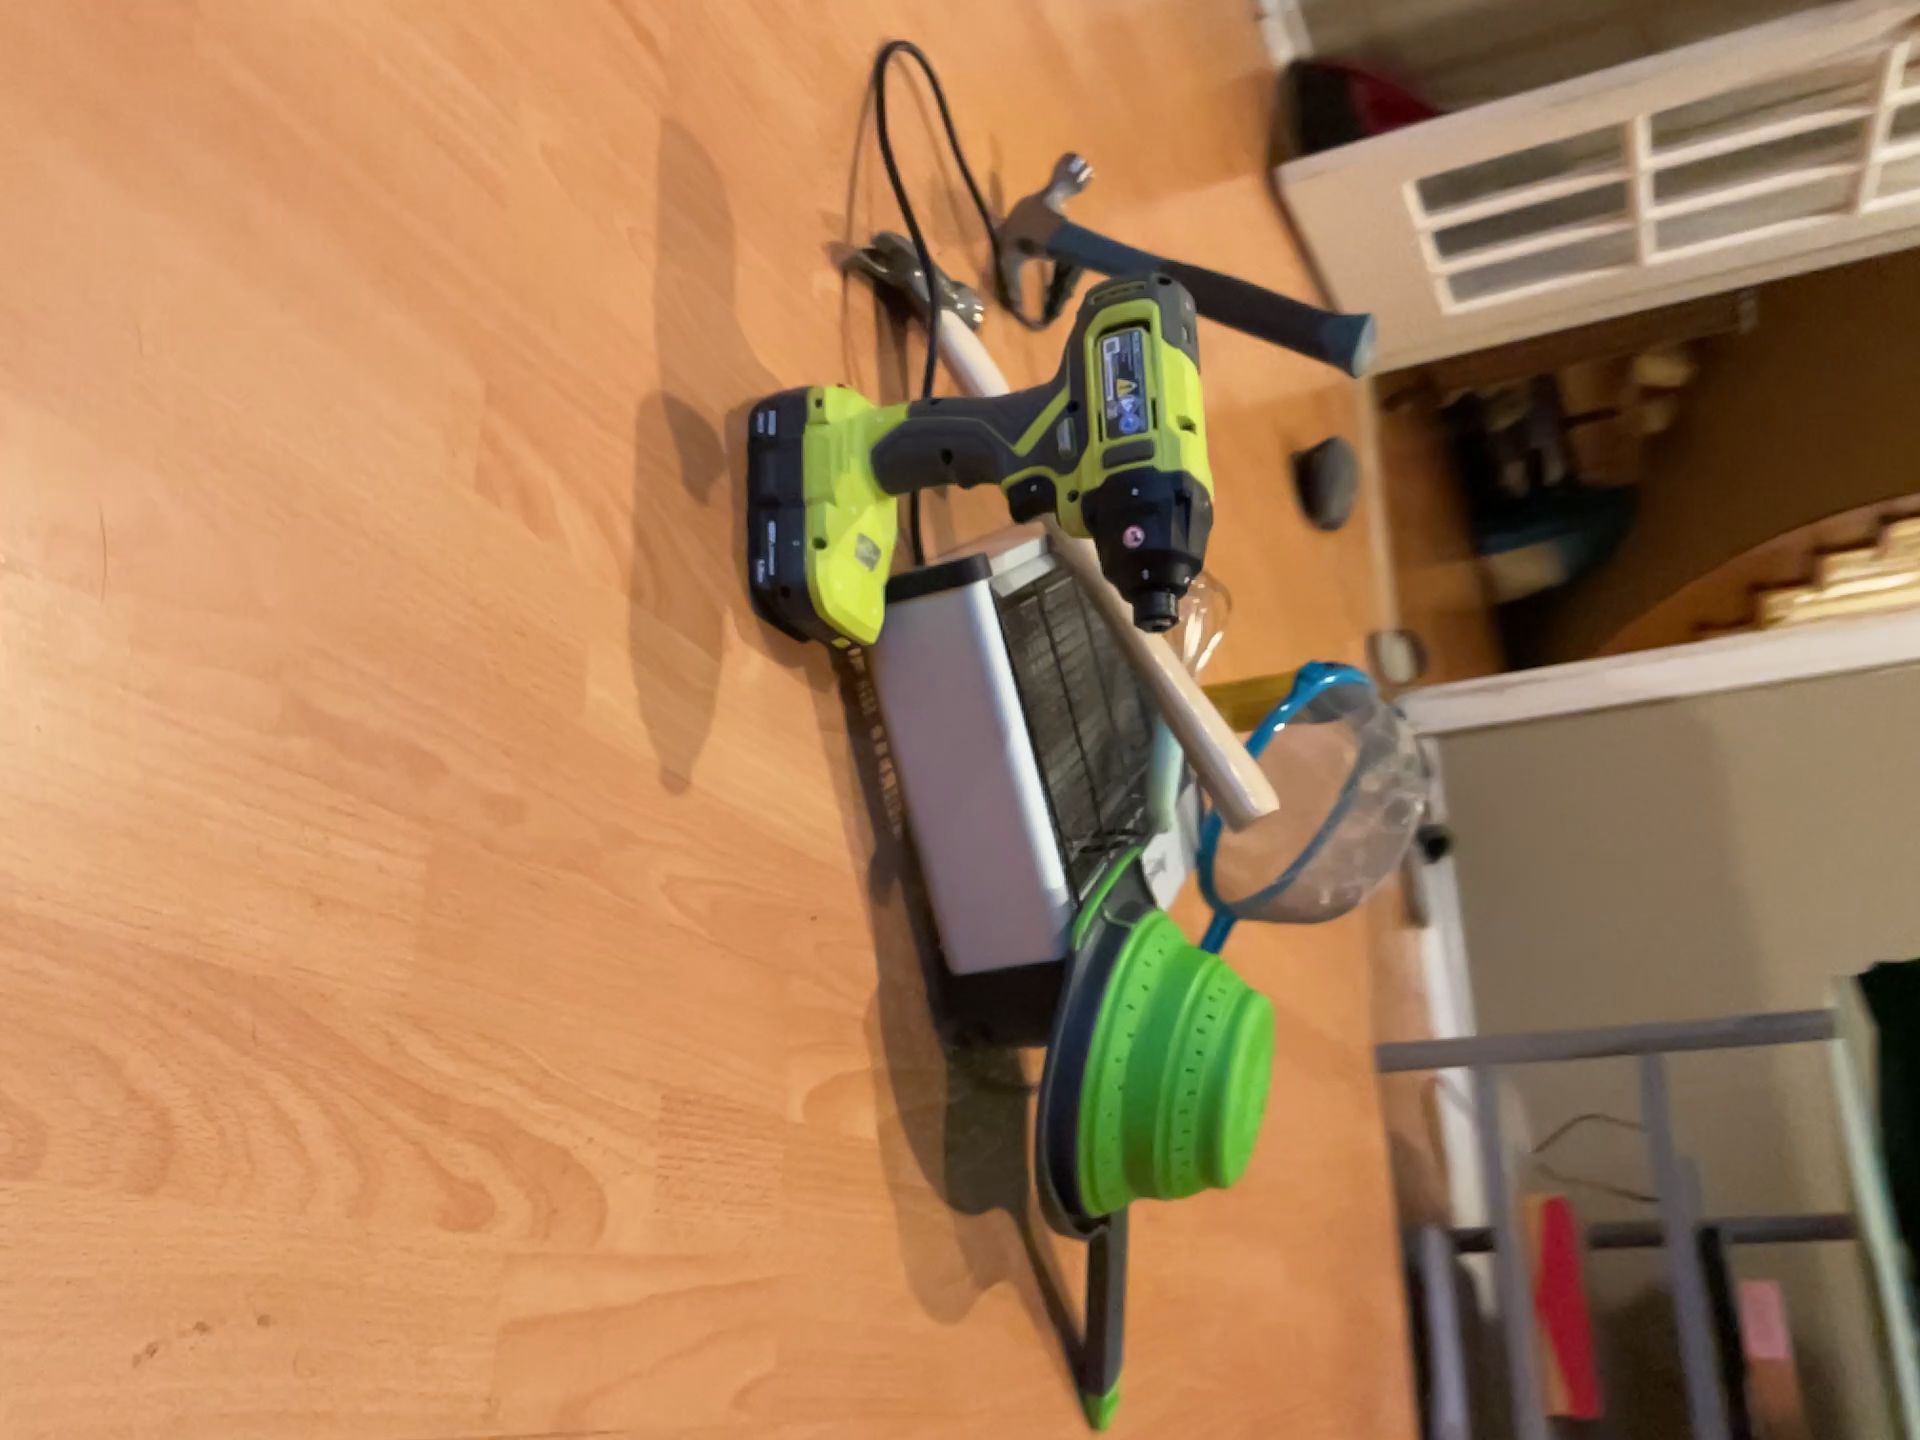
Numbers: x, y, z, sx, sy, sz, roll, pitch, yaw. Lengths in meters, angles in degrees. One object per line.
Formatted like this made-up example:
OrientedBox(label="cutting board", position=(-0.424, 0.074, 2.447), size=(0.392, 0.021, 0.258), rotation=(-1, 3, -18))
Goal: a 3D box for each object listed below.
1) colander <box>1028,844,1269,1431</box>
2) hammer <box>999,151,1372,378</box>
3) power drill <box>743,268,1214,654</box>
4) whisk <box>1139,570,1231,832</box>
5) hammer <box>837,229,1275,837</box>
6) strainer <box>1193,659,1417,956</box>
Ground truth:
OrientedBox(label="colander", position=(0.118, 0.271, 0.937), size=(0.205, 0.094, 0.396), rotation=(-44, 138, -56))
OrientedBox(label="hammer", position=(0.153, -0.314, 1.140), size=(0.128, 0.331, 0.033), rotation=(-51, 143, -7))
OrientedBox(label="power drill", position=(0.010, -0.111, 0.780), size=(0.080, 0.223, 0.171), rotation=(33, 51, -61))
OrientedBox(label="whisk", position=(0.150, -0.021, 1.108), size=(0.057, 0.059, 0.246), rotation=(100, 3, -50))
OrientedBox(label="hammer", position=(0.061, -0.113, 0.951), size=(0.410, 0.038, 0.146), rotation=(59, 18, 13))
OrientedBox(label="strainer", position=(0.245, 0.130, 1.191), size=(0.211, 0.095, 0.340), rotation=(18, 100, -54))
